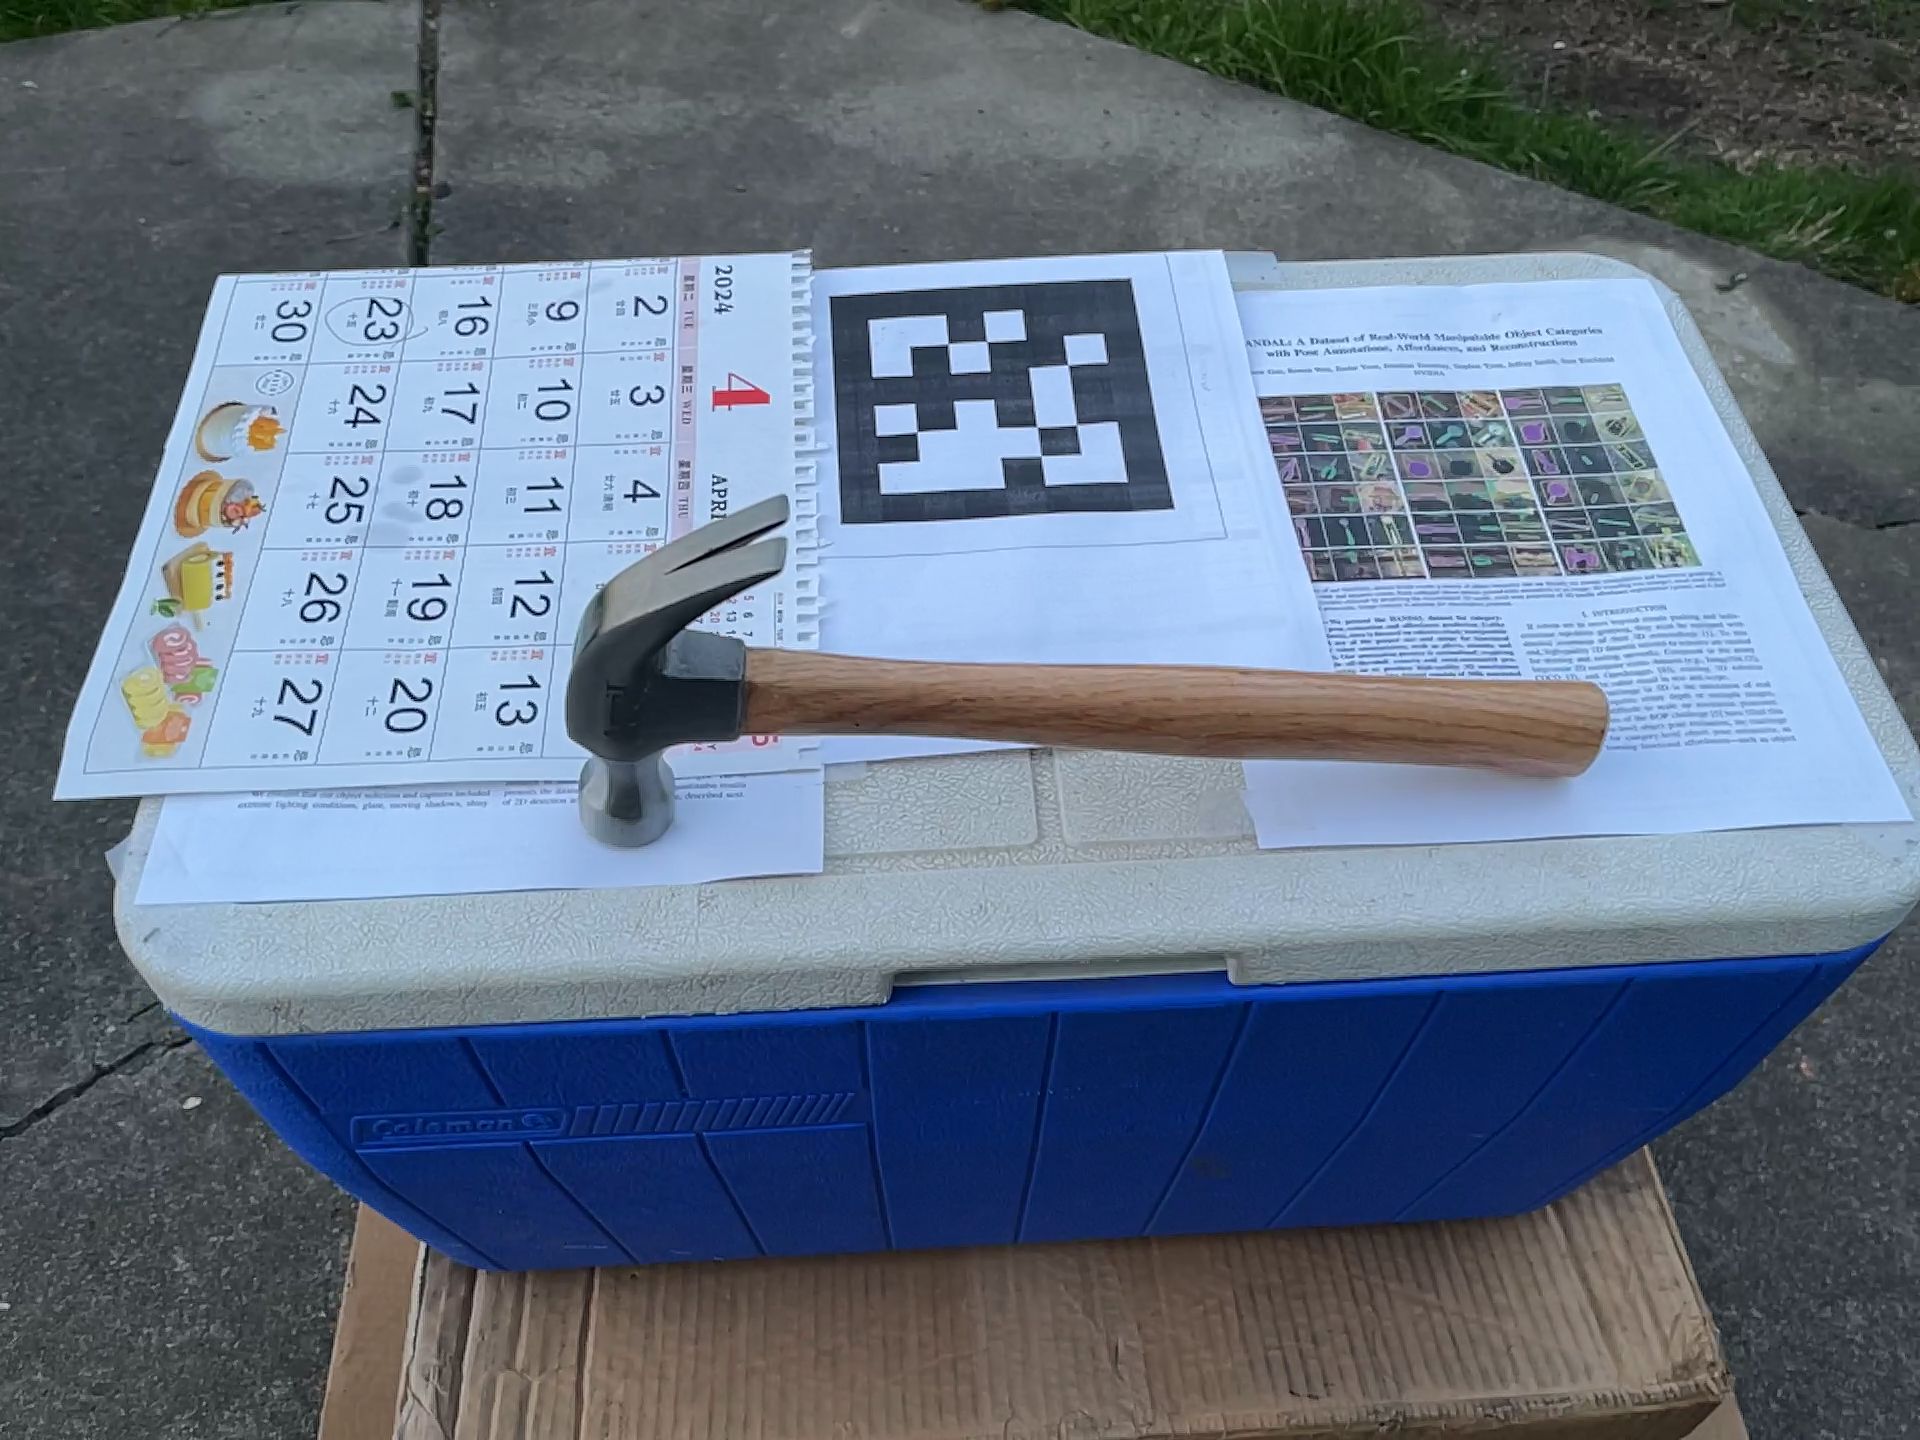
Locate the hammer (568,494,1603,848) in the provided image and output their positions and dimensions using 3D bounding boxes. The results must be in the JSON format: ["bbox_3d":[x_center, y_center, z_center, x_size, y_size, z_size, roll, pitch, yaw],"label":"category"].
[{"bbox_3d":[0.046,-0.005,0.490,0.331,0.130,0.031,3,48,-10],"label":"hammer"}]
